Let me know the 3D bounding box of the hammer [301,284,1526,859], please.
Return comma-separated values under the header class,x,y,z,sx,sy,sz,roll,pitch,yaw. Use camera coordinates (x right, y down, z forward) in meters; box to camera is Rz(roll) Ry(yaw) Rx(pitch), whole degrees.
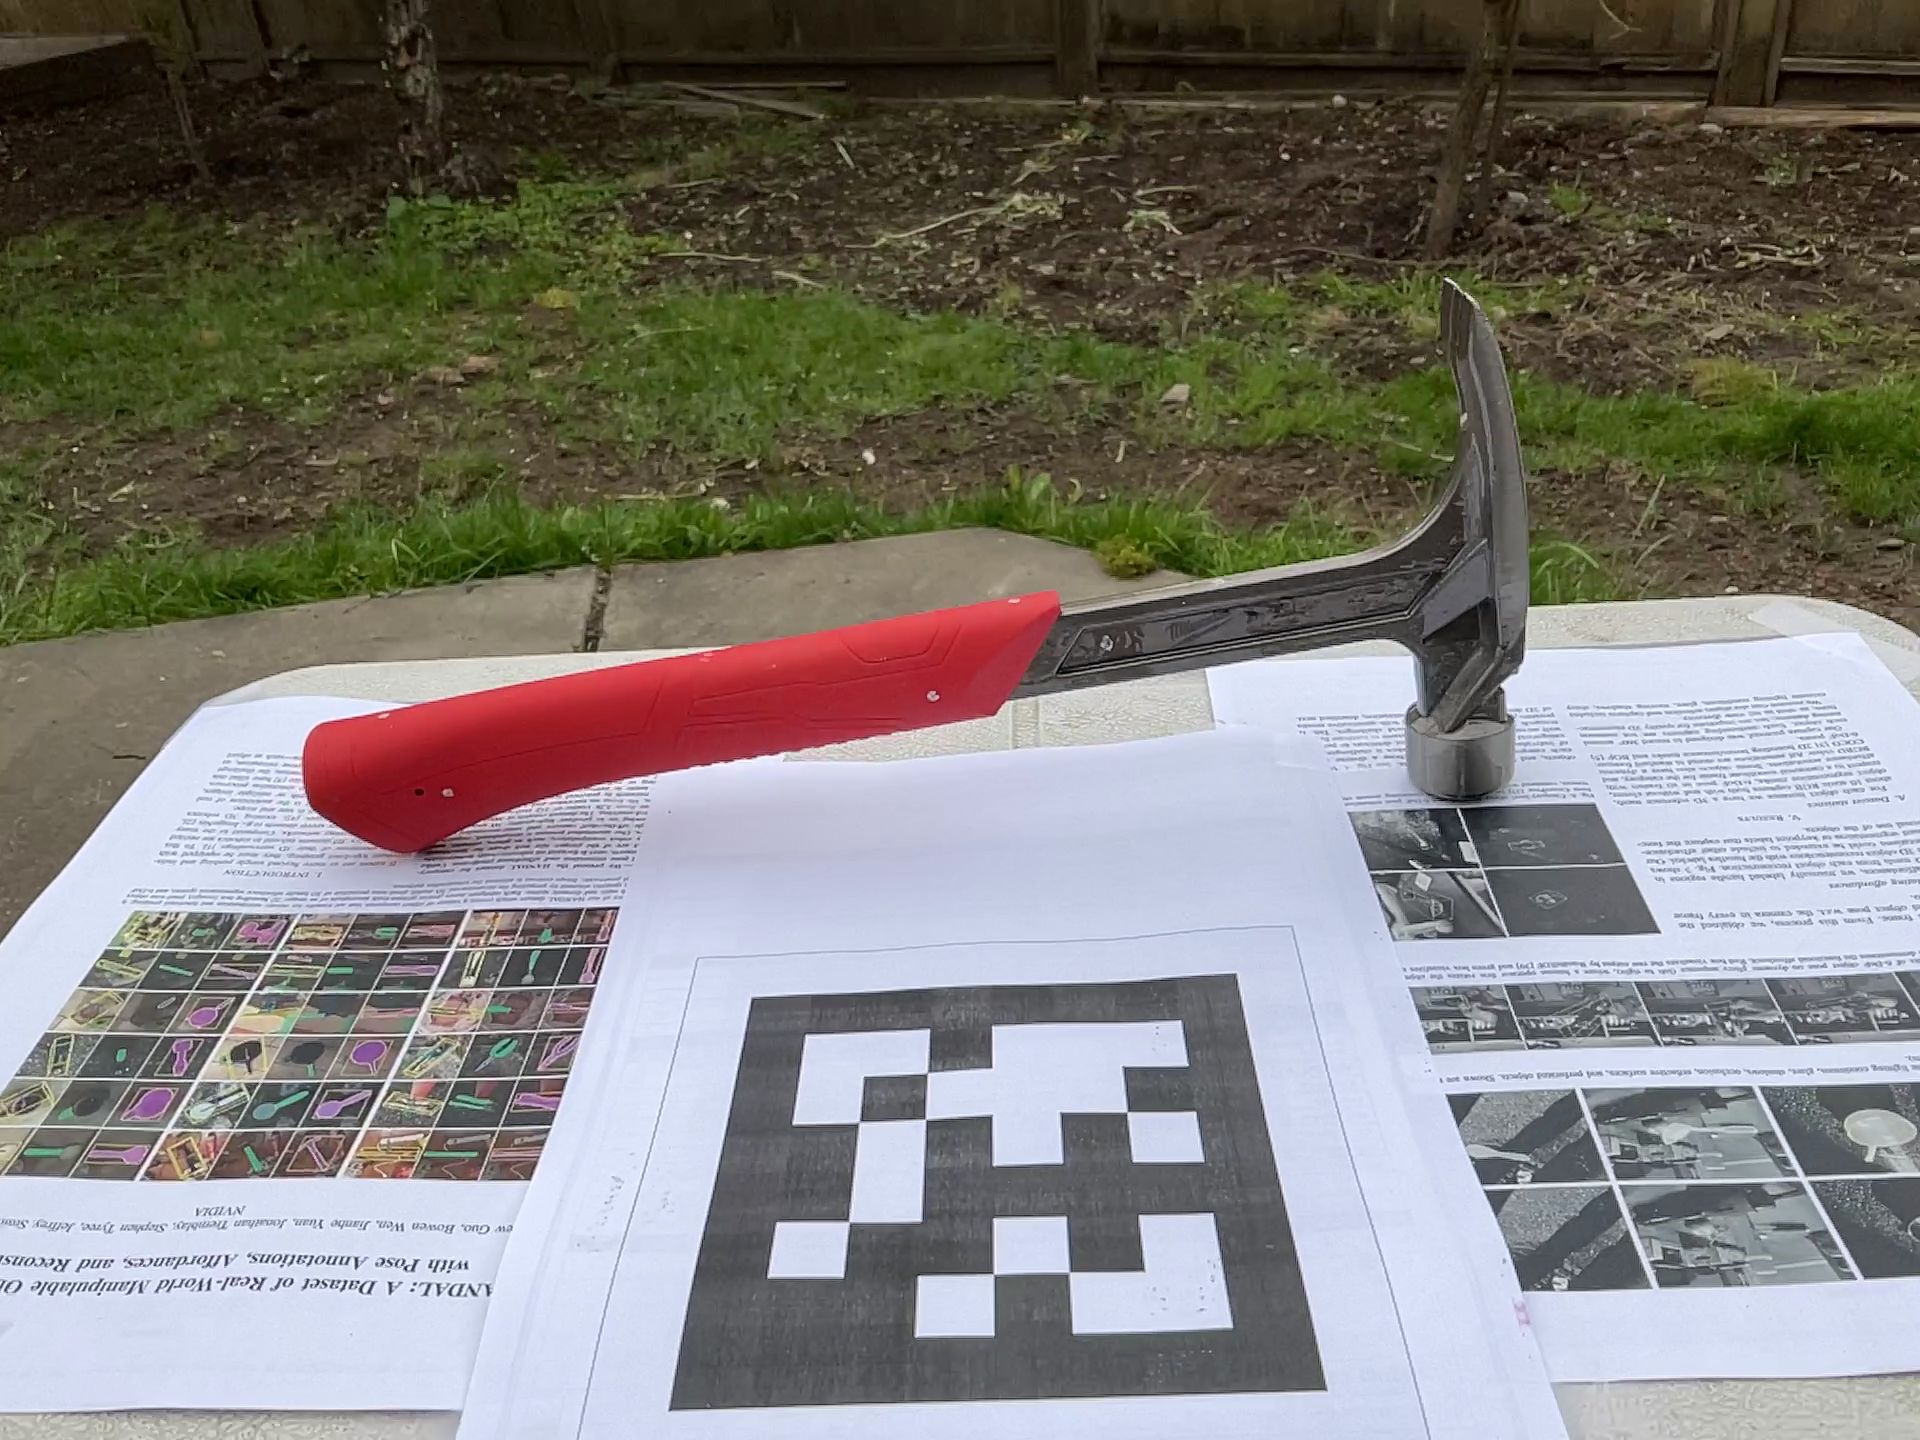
class,x,y,z,sx,sy,sz,roll,pitch,yaw
hammer,-0.019,-0.020,0.470,0.359,0.149,0.037,-9,26,5
